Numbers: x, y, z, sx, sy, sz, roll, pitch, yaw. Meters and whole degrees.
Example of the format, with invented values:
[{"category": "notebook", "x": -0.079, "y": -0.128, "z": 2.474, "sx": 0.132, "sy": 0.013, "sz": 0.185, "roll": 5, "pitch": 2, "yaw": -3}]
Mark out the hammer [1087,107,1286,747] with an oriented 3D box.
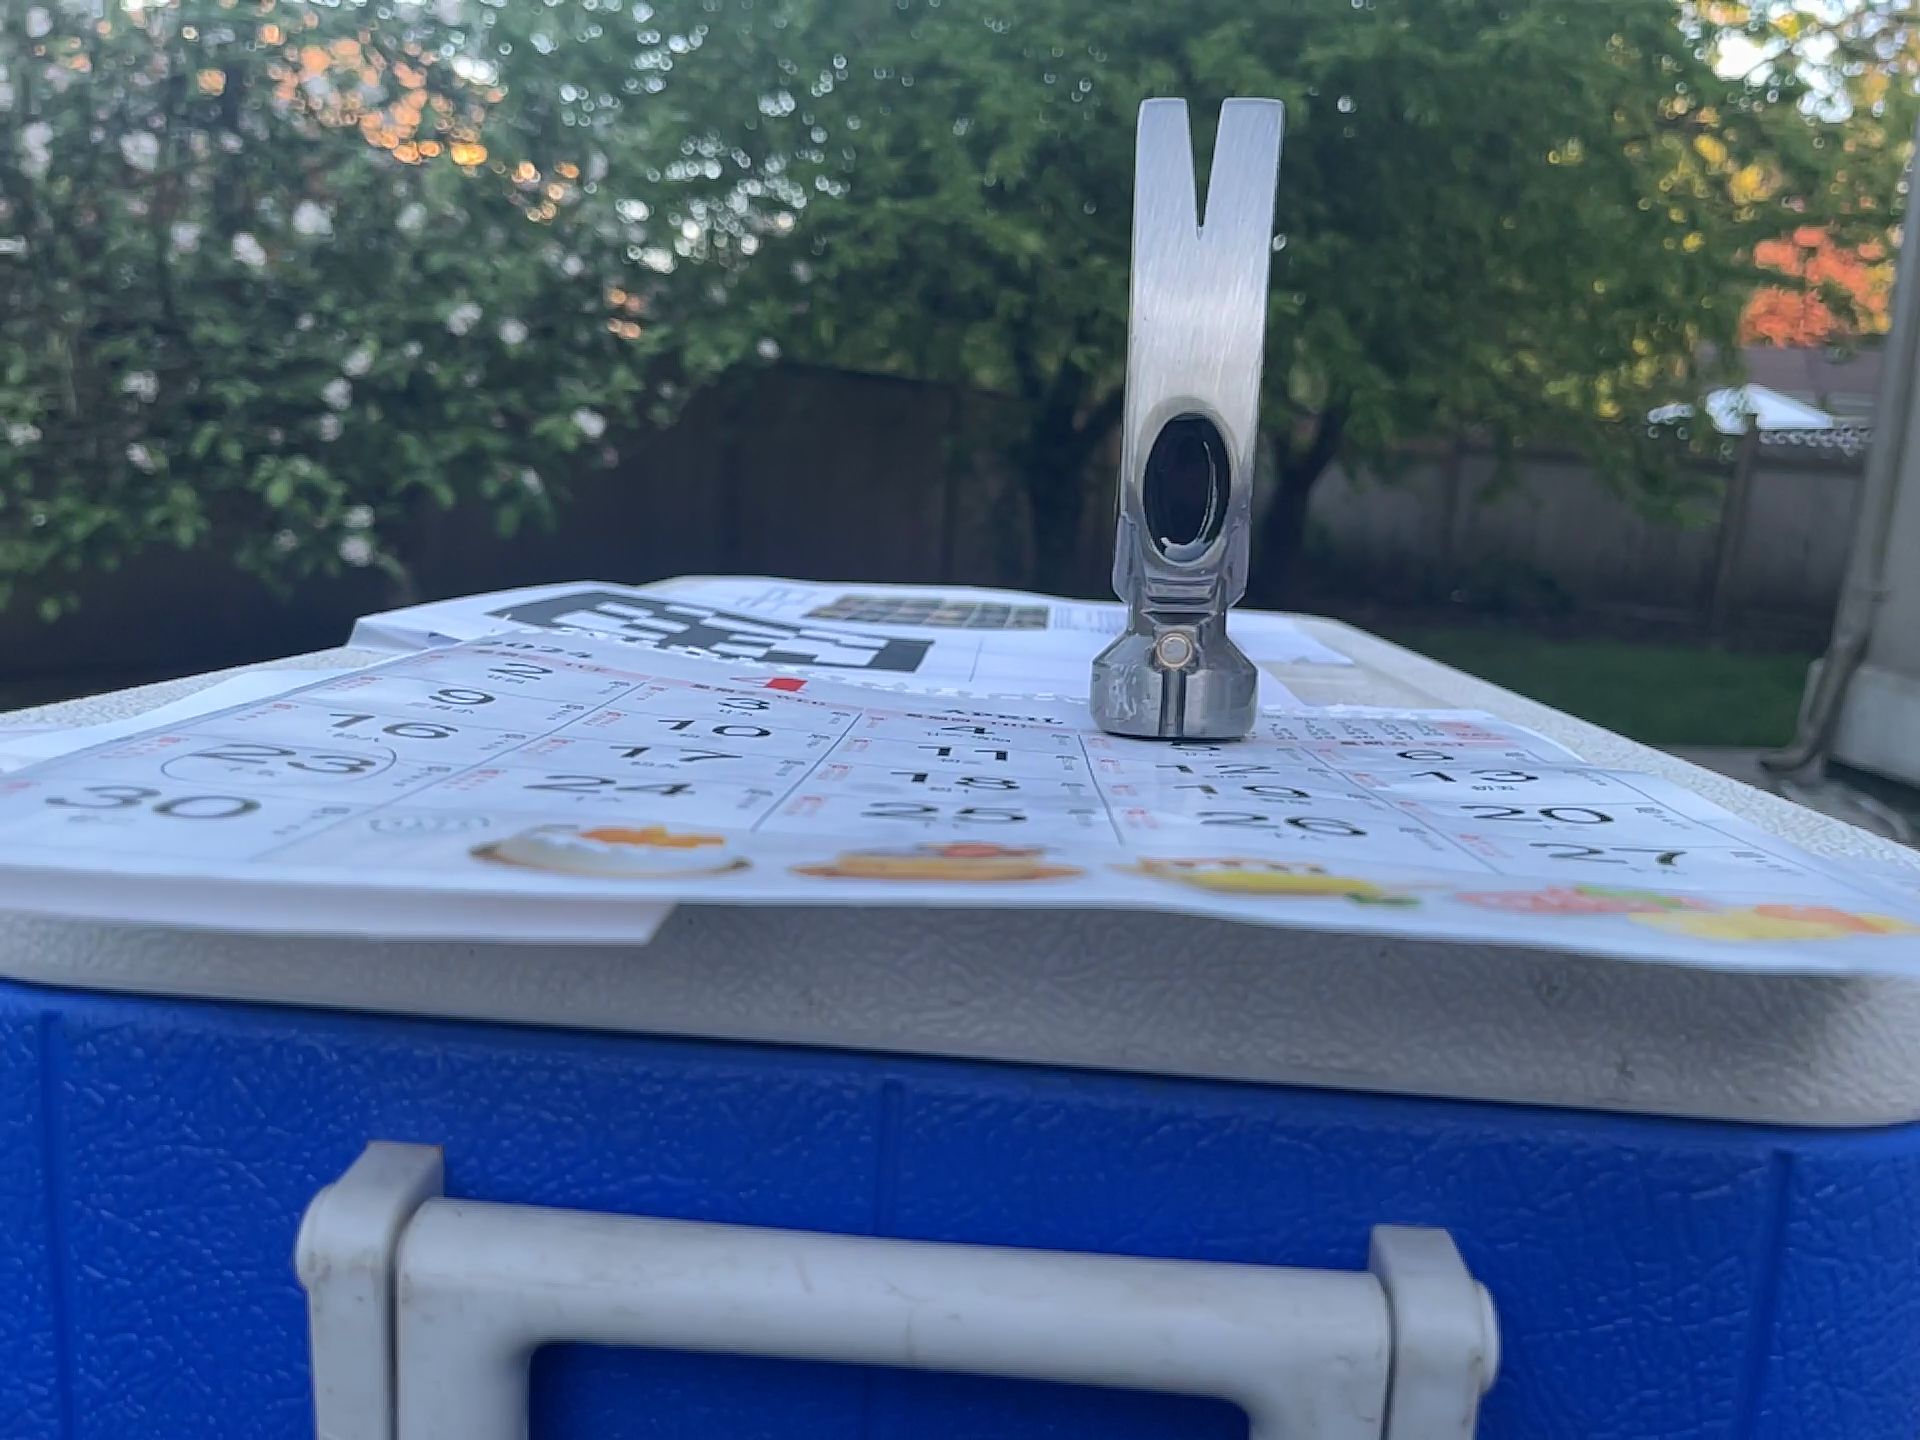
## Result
[{"category": "hammer", "x": 0.073, "y": -0.076, "z": 0.525, "sx": 0.038, "sy": 0.143, "sz": 0.386, "roll": 4, "pitch": 4, "yaw": 7}]
